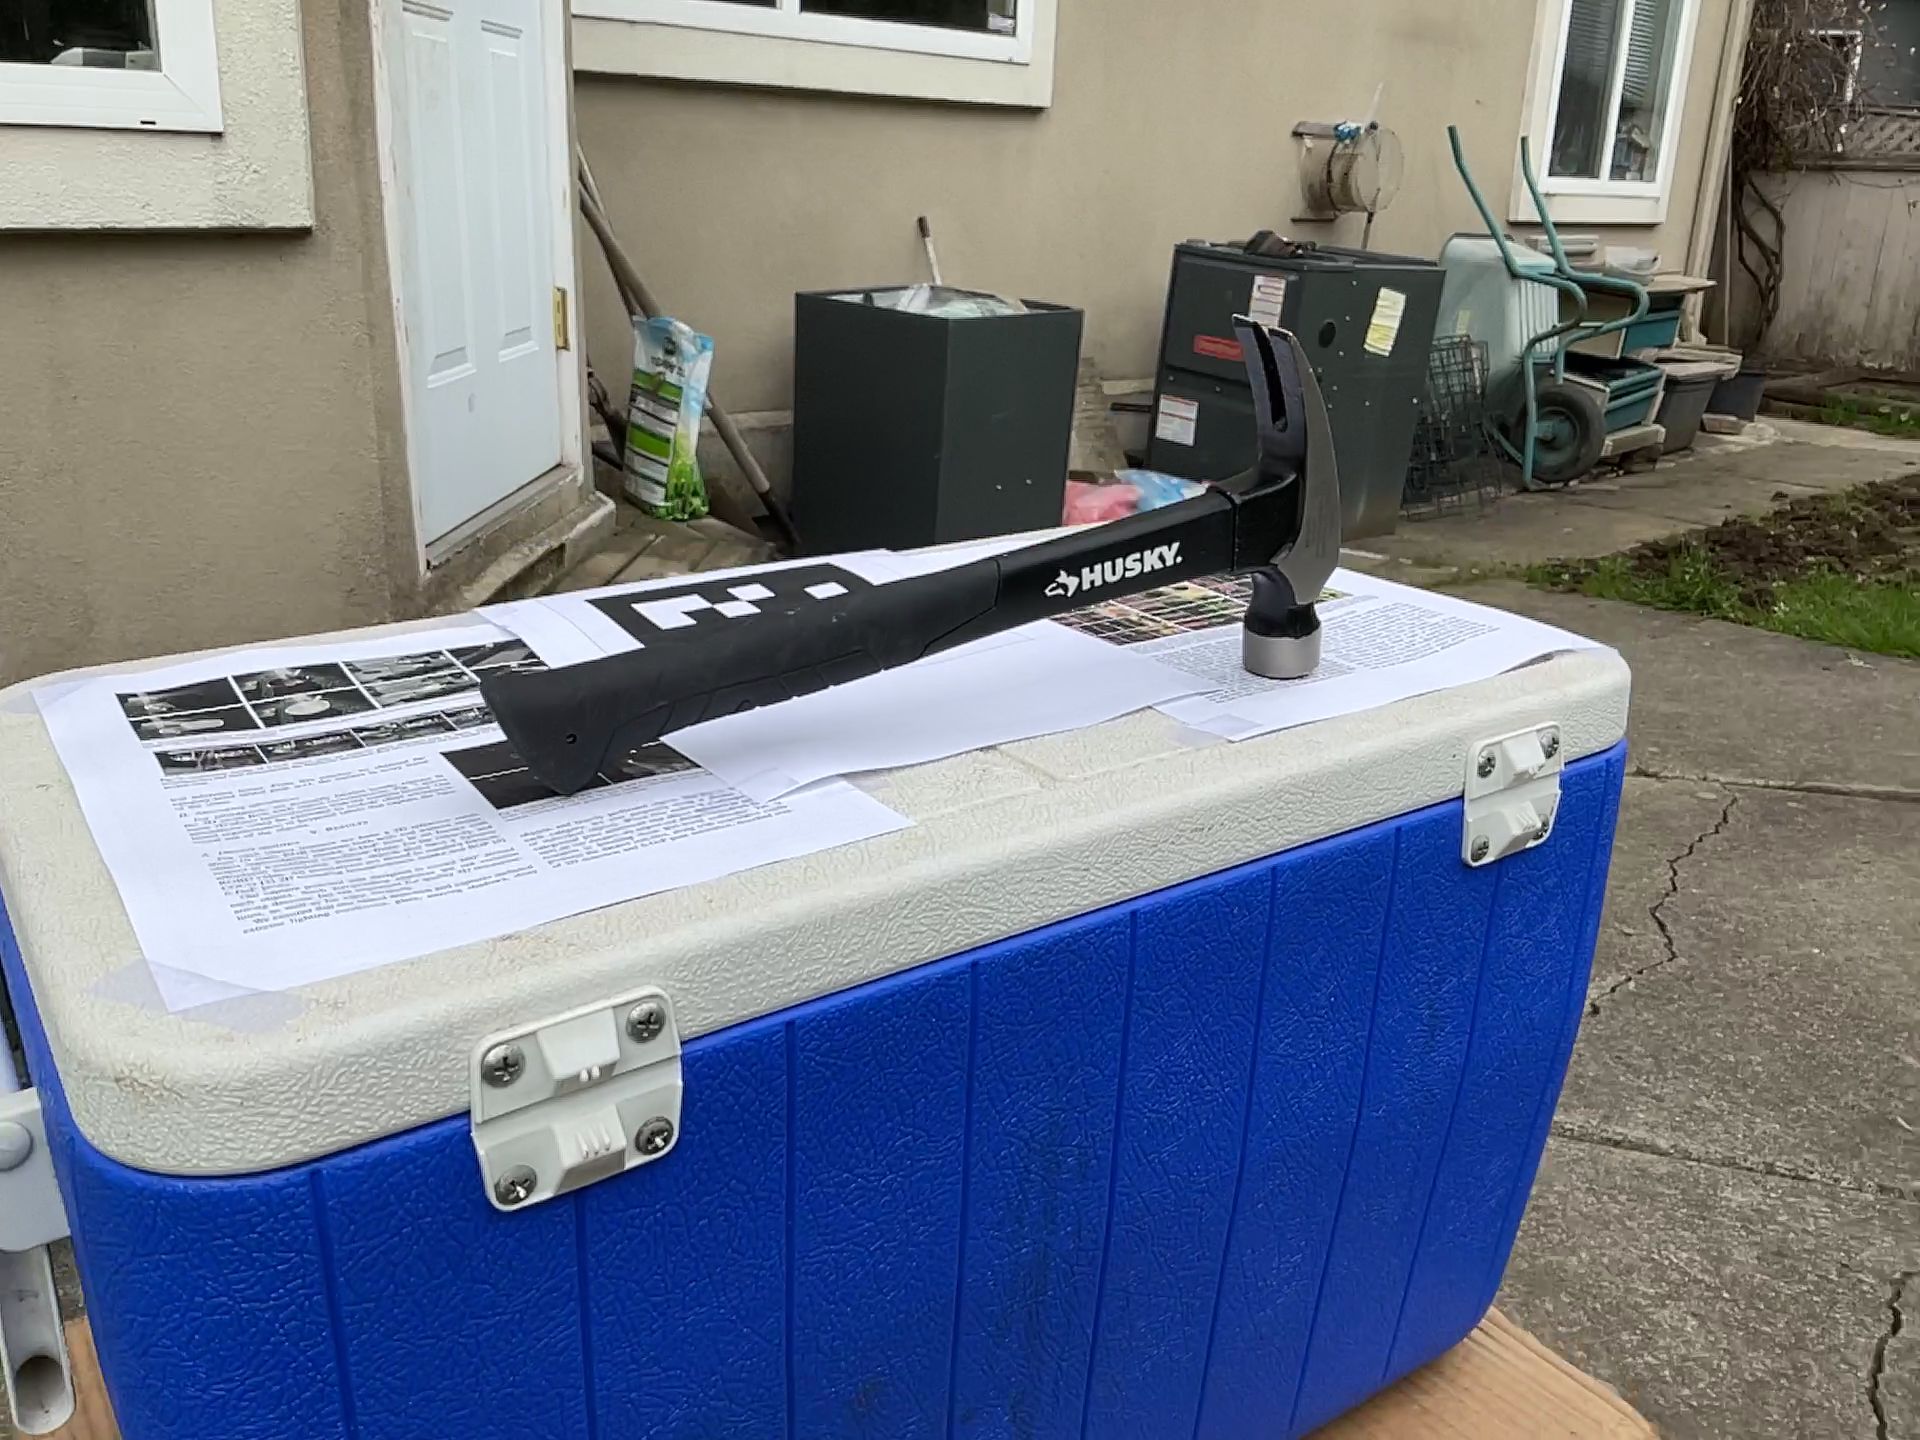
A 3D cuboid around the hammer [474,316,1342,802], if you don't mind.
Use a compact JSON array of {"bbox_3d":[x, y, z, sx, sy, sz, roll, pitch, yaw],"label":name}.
[{"bbox_3d":[-0.003,-0.044,0.568,0.334,0.146,0.035,-17,31,-23],"label":"hammer"}]
